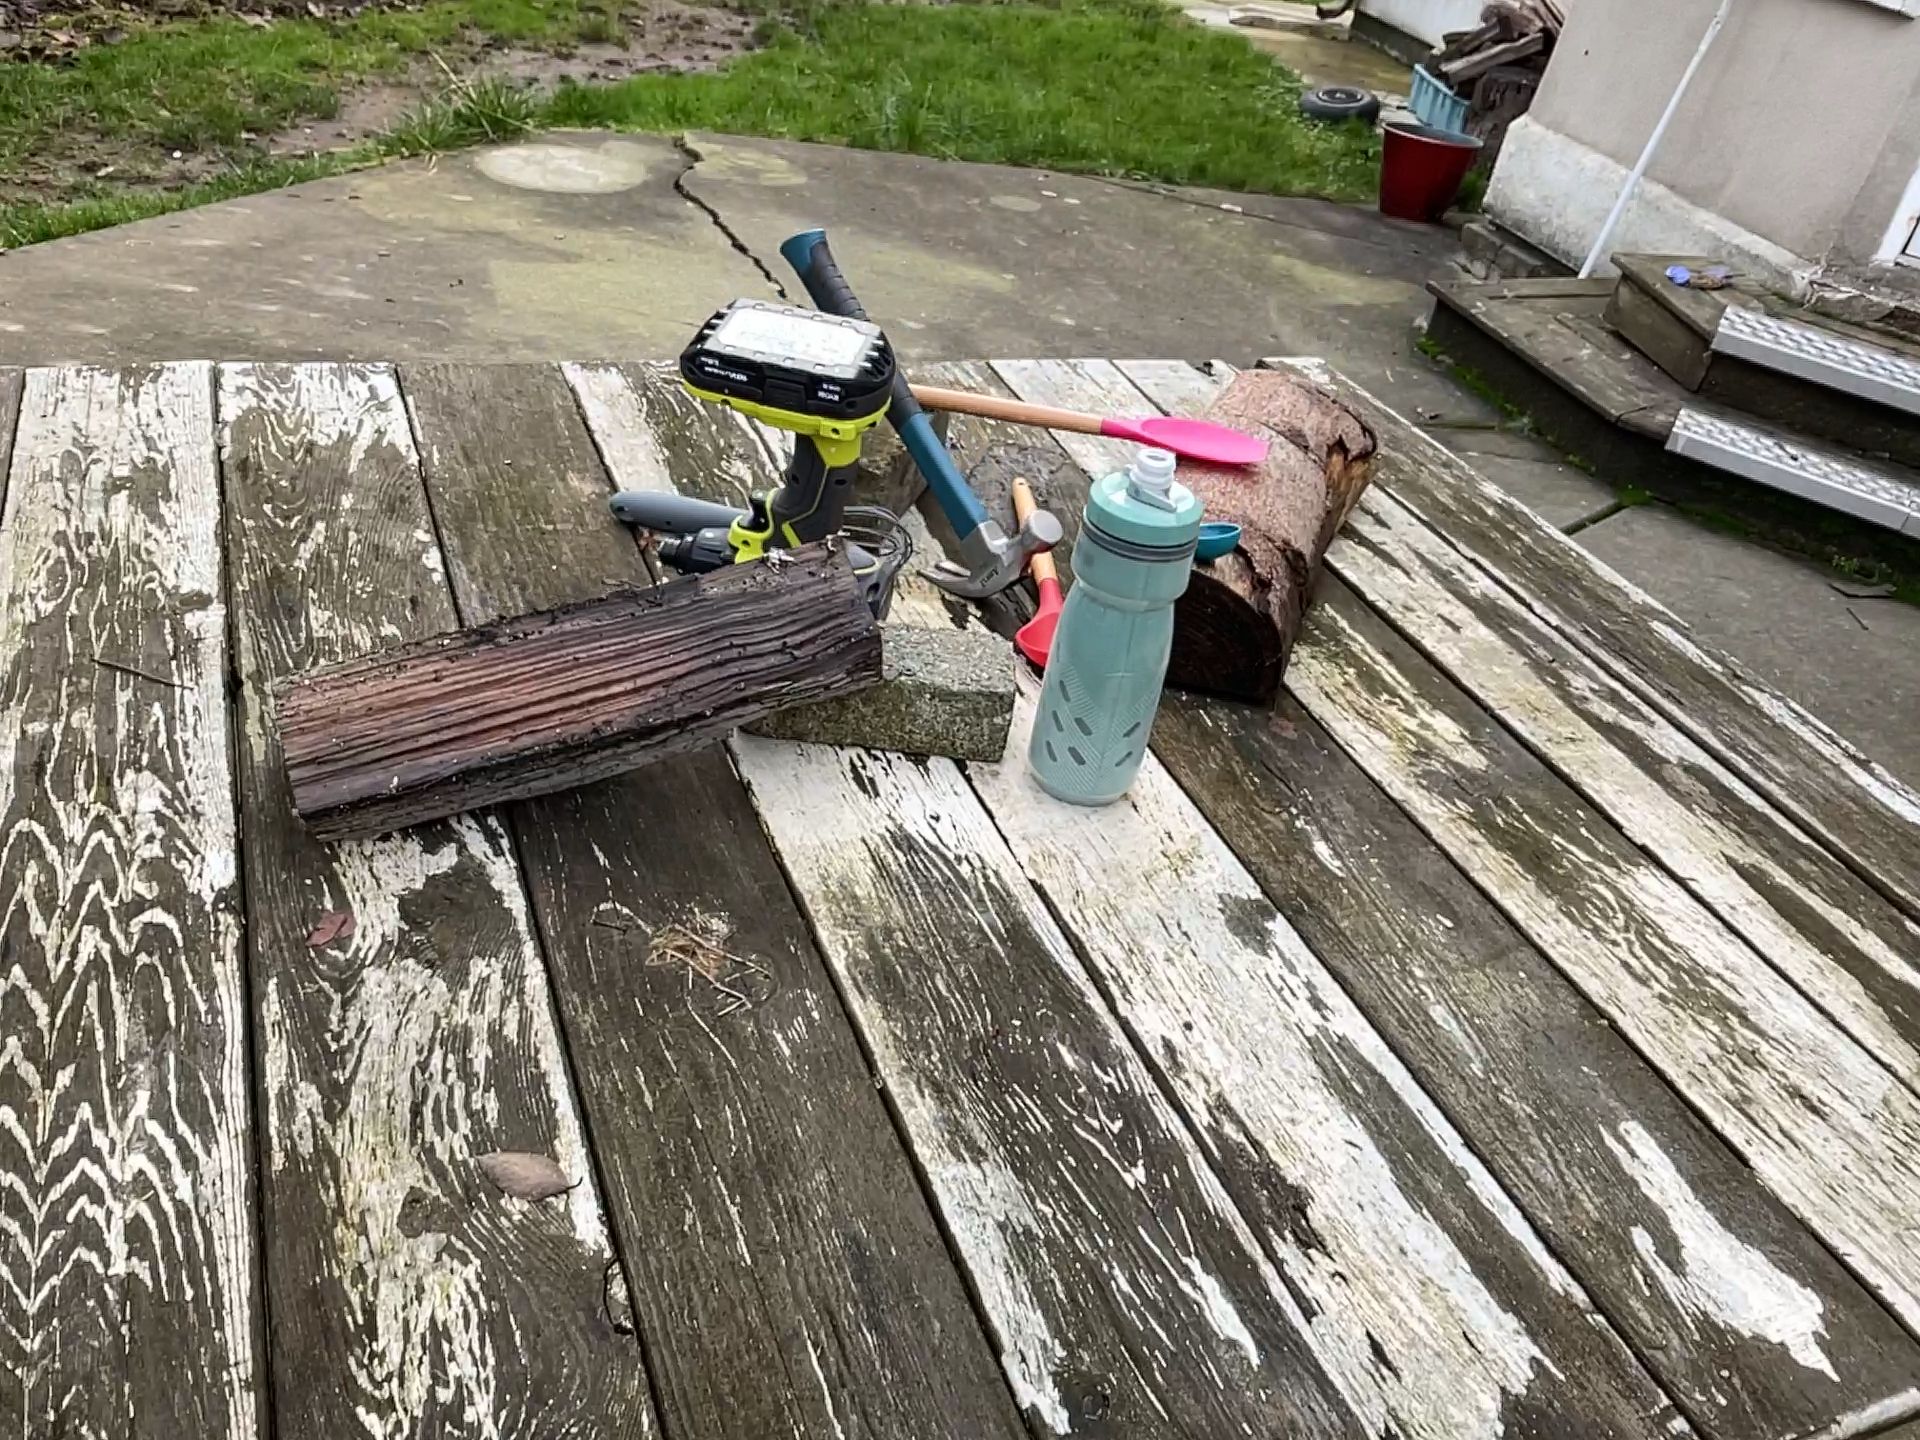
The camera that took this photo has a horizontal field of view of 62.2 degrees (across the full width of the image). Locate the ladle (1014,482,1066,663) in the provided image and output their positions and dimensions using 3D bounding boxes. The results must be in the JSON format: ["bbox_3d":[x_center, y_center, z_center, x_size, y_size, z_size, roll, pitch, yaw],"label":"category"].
[{"bbox_3d":[0.066,-0.121,1.266,0.069,0.031,0.316,2,32,-8],"label":"ladle"}]

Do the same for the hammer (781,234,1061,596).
[{"bbox_3d":[-0.045,-0.242,1.237,0.033,0.128,0.331,-22,77,-42],"label":"hammer"}]

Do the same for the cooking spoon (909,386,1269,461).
[{"bbox_3d":[0.095,-0.246,1.314,0.319,0.017,0.069,11,34,9],"label":"cooking spoon"}]

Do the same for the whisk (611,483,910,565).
[{"bbox_3d":[-0.155,-0.156,1.232,0.239,0.055,0.055,10,25,6],"label":"whisk"}]

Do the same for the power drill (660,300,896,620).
[{"bbox_3d":[-0.127,-0.167,1.106,0.171,0.223,0.080,13,41,6],"label":"power drill"}]

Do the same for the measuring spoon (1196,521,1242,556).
[{"bbox_3d":[0.153,-0.135,1.171,0.042,0.021,0.129,-20,22,-36],"label":"measuring spoon"}]
